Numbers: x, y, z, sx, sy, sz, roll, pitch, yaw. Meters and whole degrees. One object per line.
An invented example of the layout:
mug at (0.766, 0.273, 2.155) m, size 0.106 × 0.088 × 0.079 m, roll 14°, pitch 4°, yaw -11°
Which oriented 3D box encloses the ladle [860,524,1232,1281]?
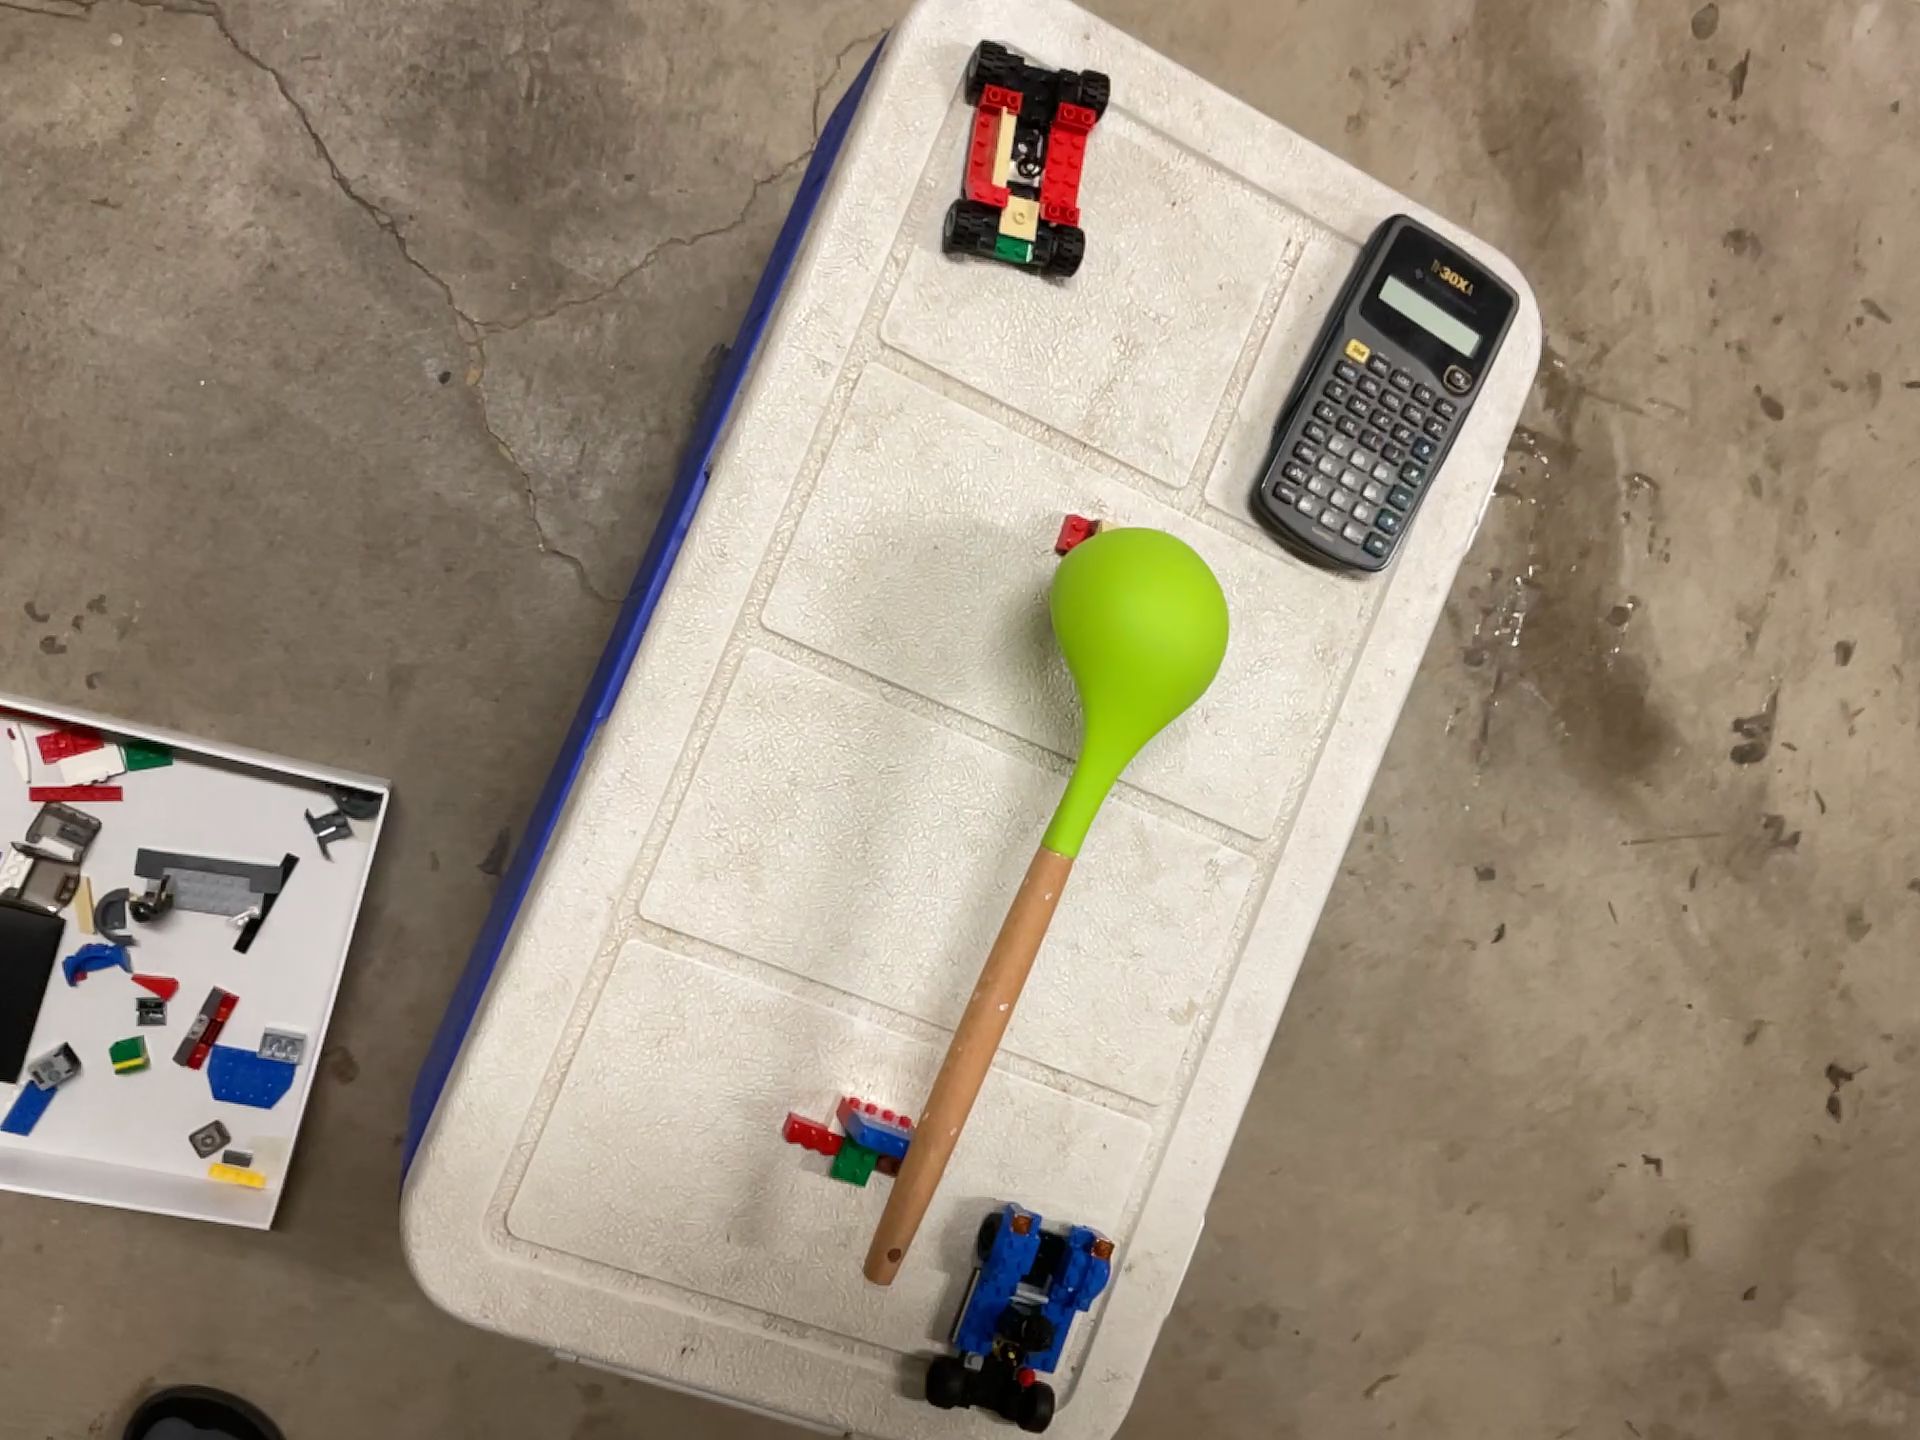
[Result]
ladle at (0.024, 0.073, 0.642) m, size 0.078 × 0.062 × 0.320 m, roll 22°, pitch 94°, yaw -23°
